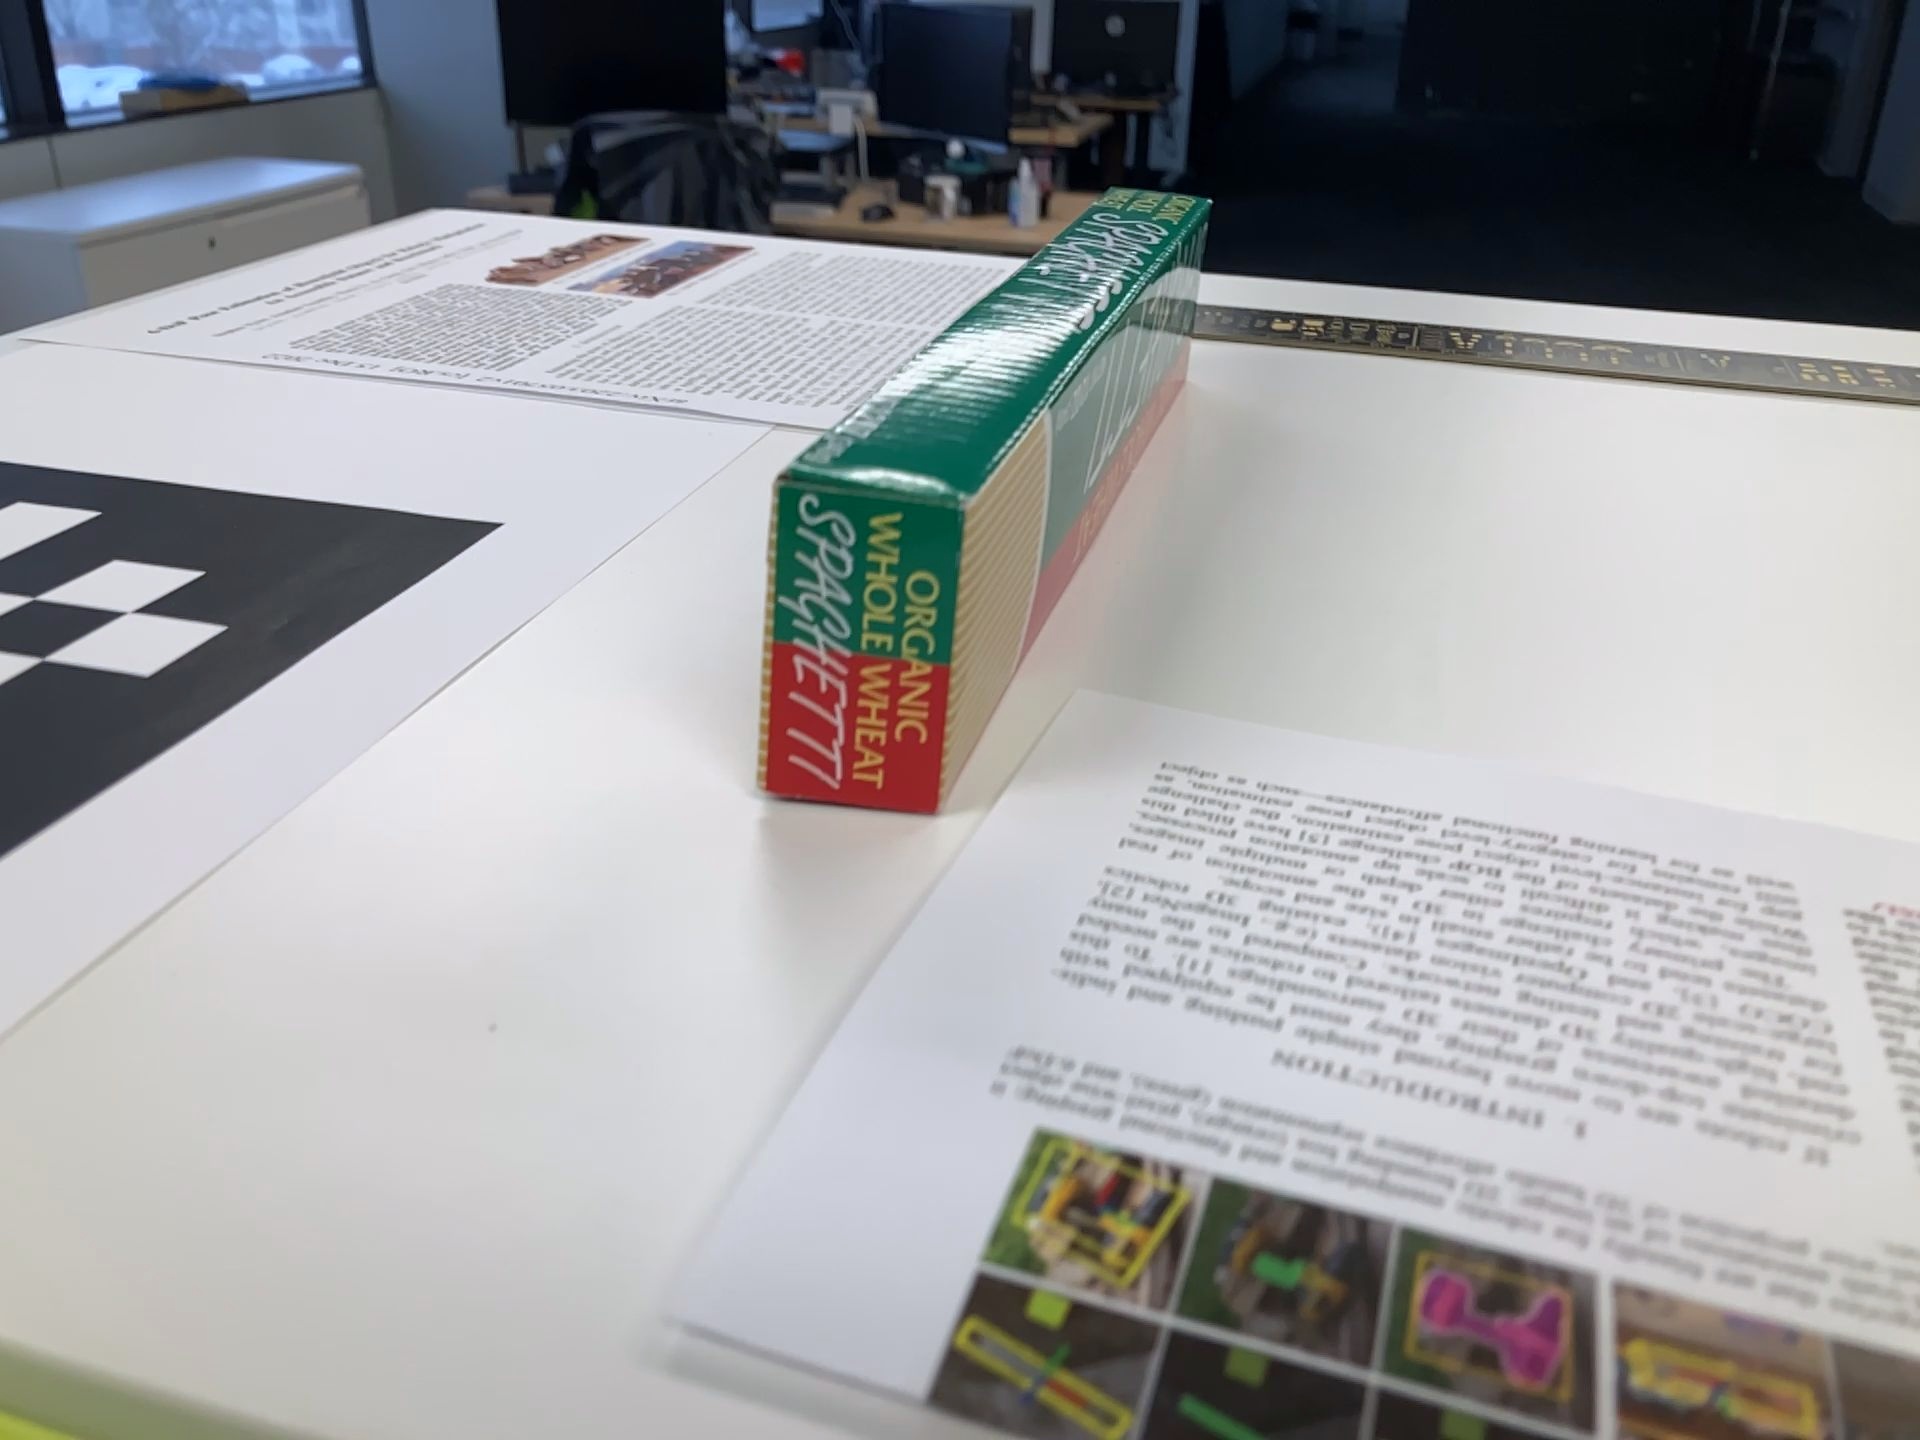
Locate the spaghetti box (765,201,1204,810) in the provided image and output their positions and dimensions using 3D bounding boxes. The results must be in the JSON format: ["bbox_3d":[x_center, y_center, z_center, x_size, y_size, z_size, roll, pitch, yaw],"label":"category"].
[{"bbox_3d":[0.017,-0.063,0.328,0.028,0.050,0.250,12,28,11],"label":"spaghetti box"}]
